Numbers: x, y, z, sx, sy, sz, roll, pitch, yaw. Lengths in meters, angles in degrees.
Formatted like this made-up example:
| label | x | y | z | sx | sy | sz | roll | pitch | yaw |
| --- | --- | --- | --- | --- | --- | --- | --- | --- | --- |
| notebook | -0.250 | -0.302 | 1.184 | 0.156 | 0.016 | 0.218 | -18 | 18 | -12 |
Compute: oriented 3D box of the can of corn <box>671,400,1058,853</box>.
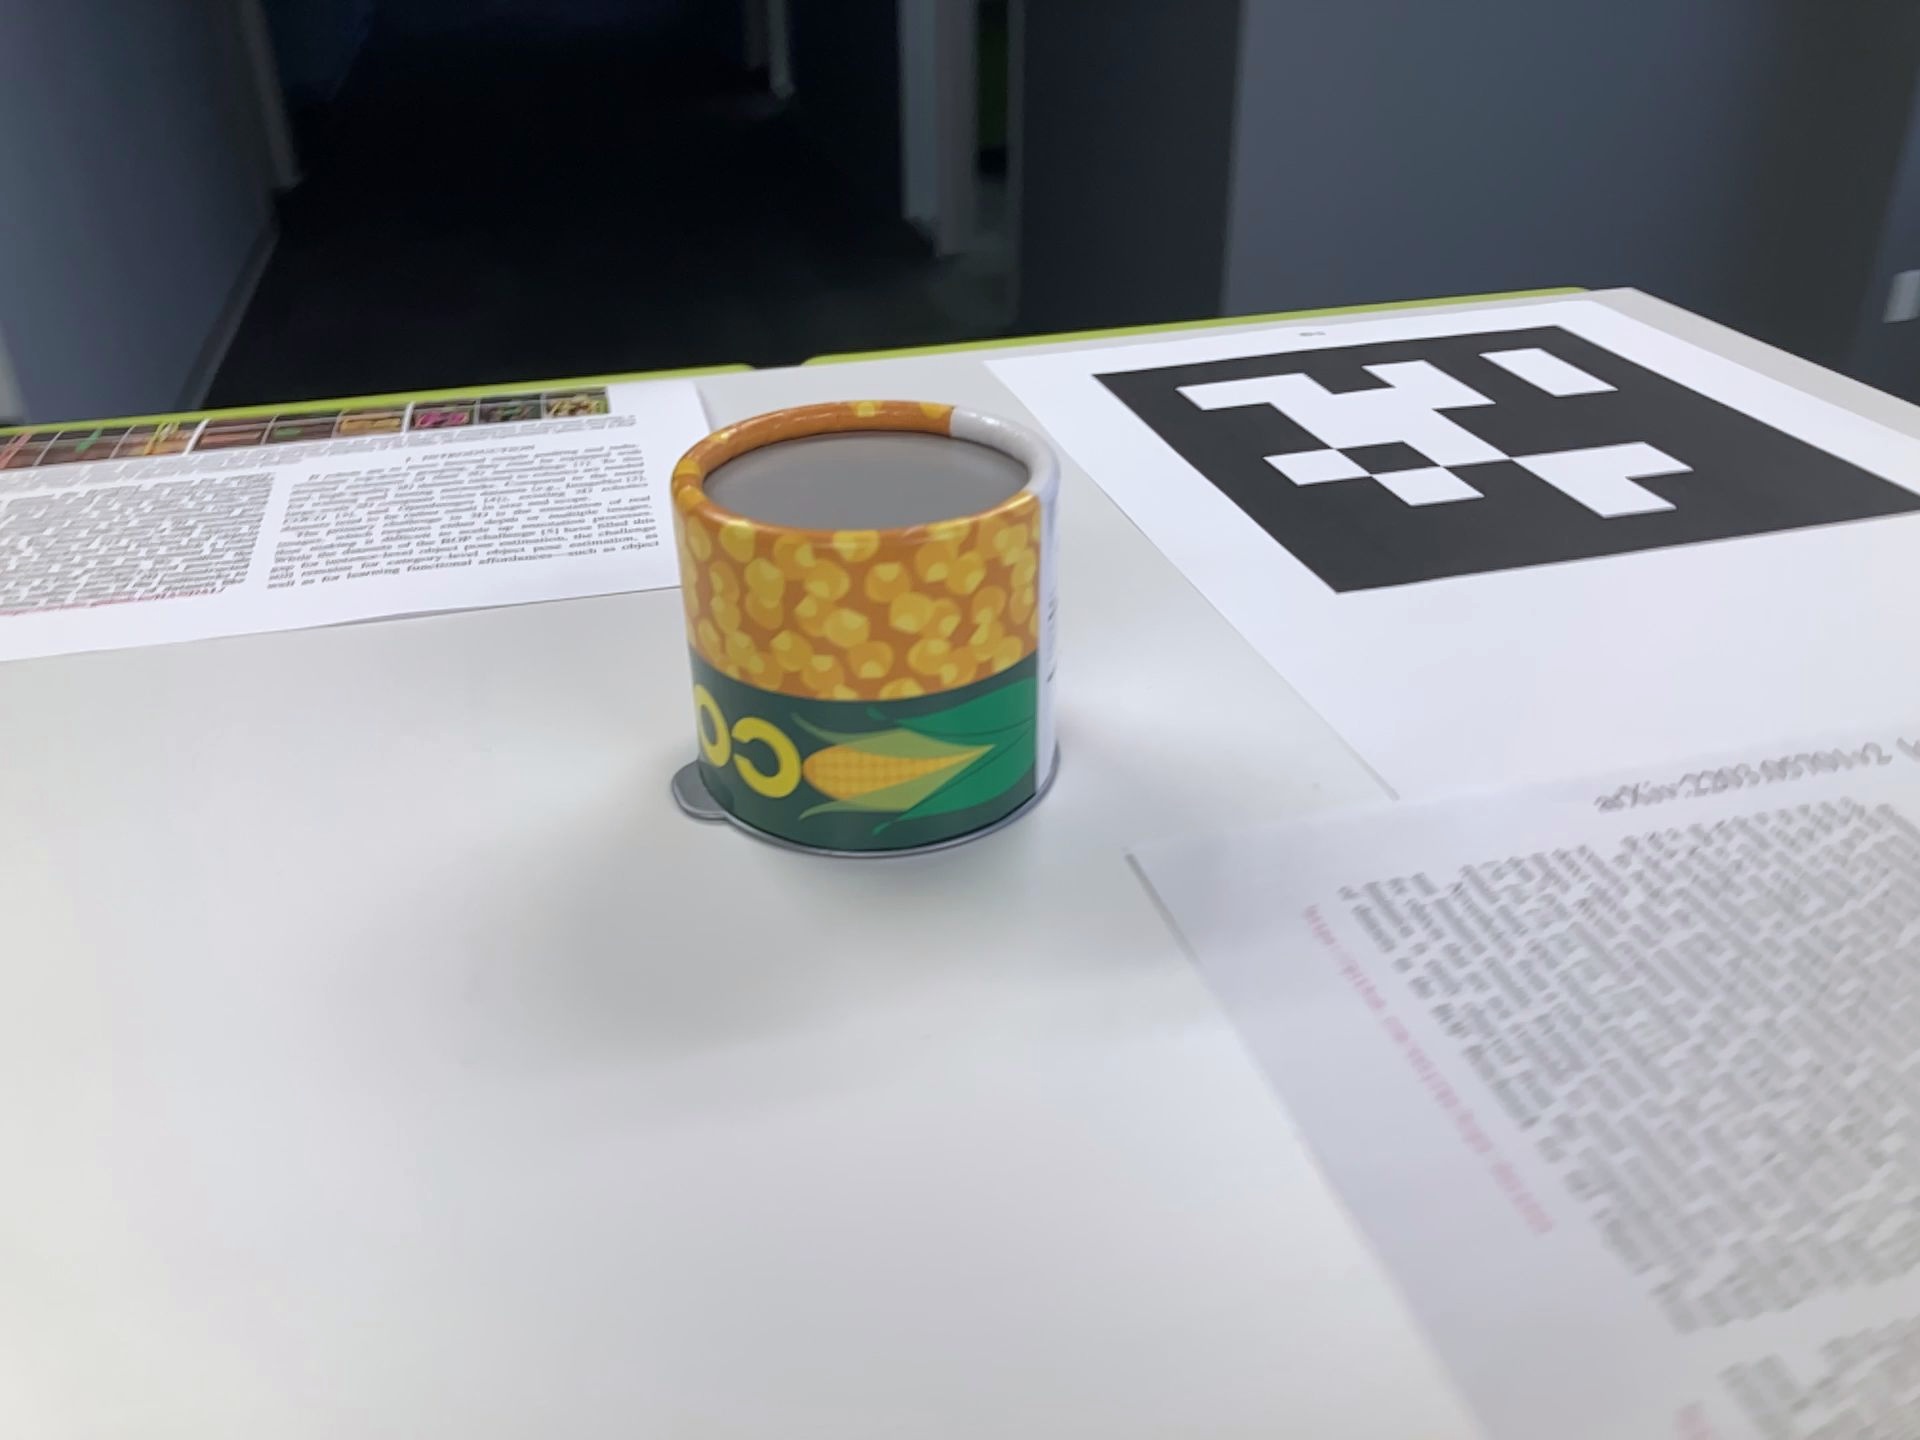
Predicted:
| label | x | y | z | sx | sy | sz | roll | pitch | yaw |
| --- | --- | --- | --- | --- | --- | --- | --- | --- | --- |
| can of corn | -0.018 | -0.018 | 0.279 | 0.071 | 0.058 | 0.071 | -1 | 30 | 0 |
